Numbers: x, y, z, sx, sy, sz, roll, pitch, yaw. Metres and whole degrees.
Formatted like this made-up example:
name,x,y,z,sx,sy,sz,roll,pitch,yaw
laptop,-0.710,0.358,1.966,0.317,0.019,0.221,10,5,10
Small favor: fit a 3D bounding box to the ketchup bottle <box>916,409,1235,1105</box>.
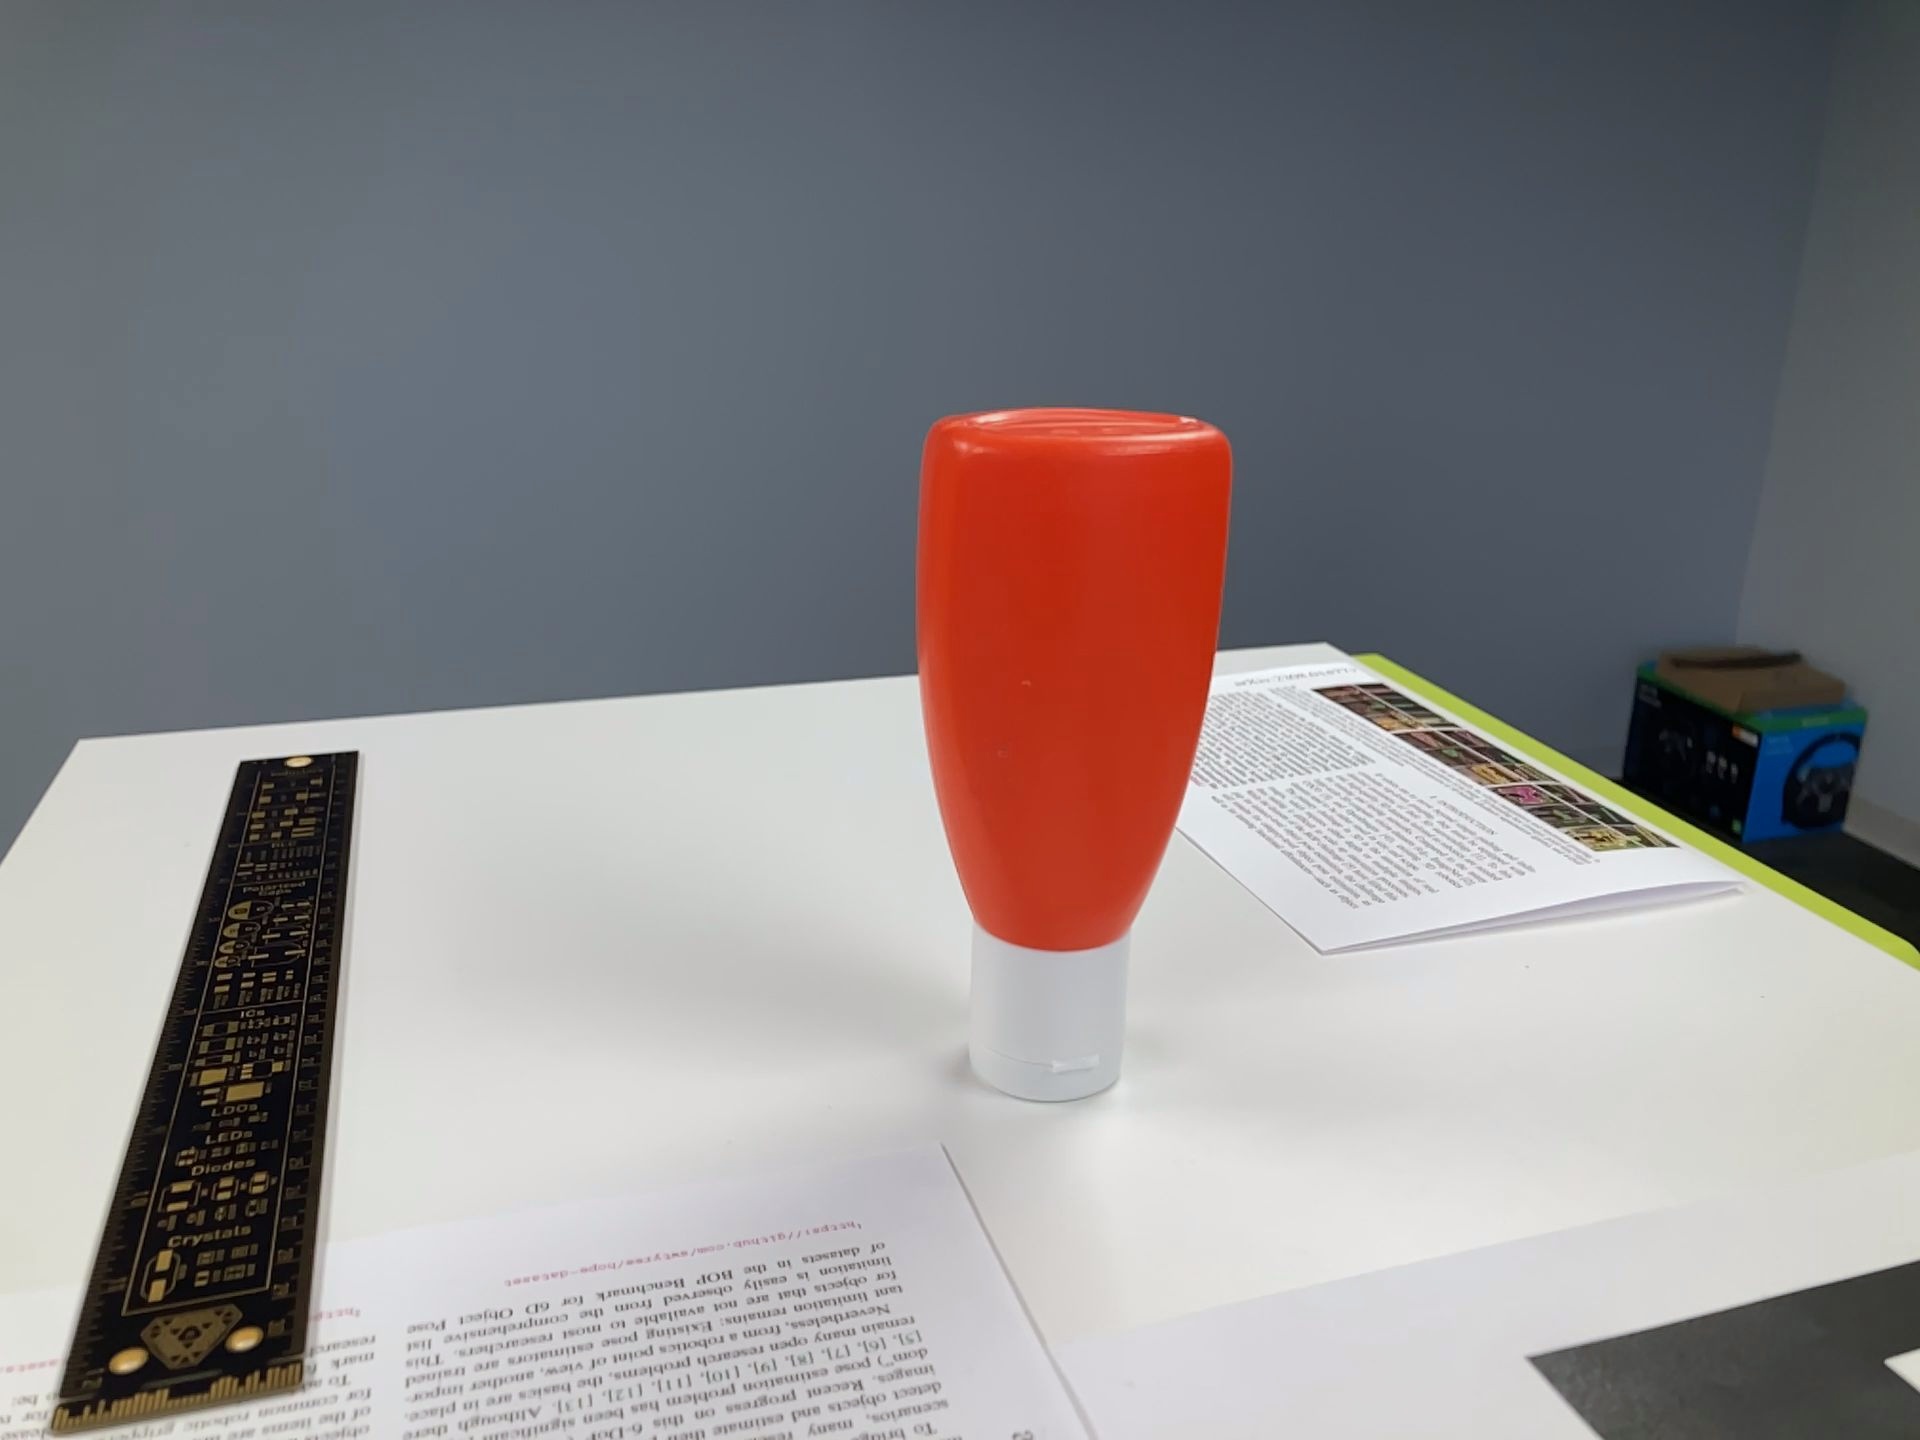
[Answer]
name,x,y,z,sx,sy,sz,roll,pitch,yaw
ketchup bottle,0.022,0.010,0.342,0.065,0.149,0.043,-4,19,-16
